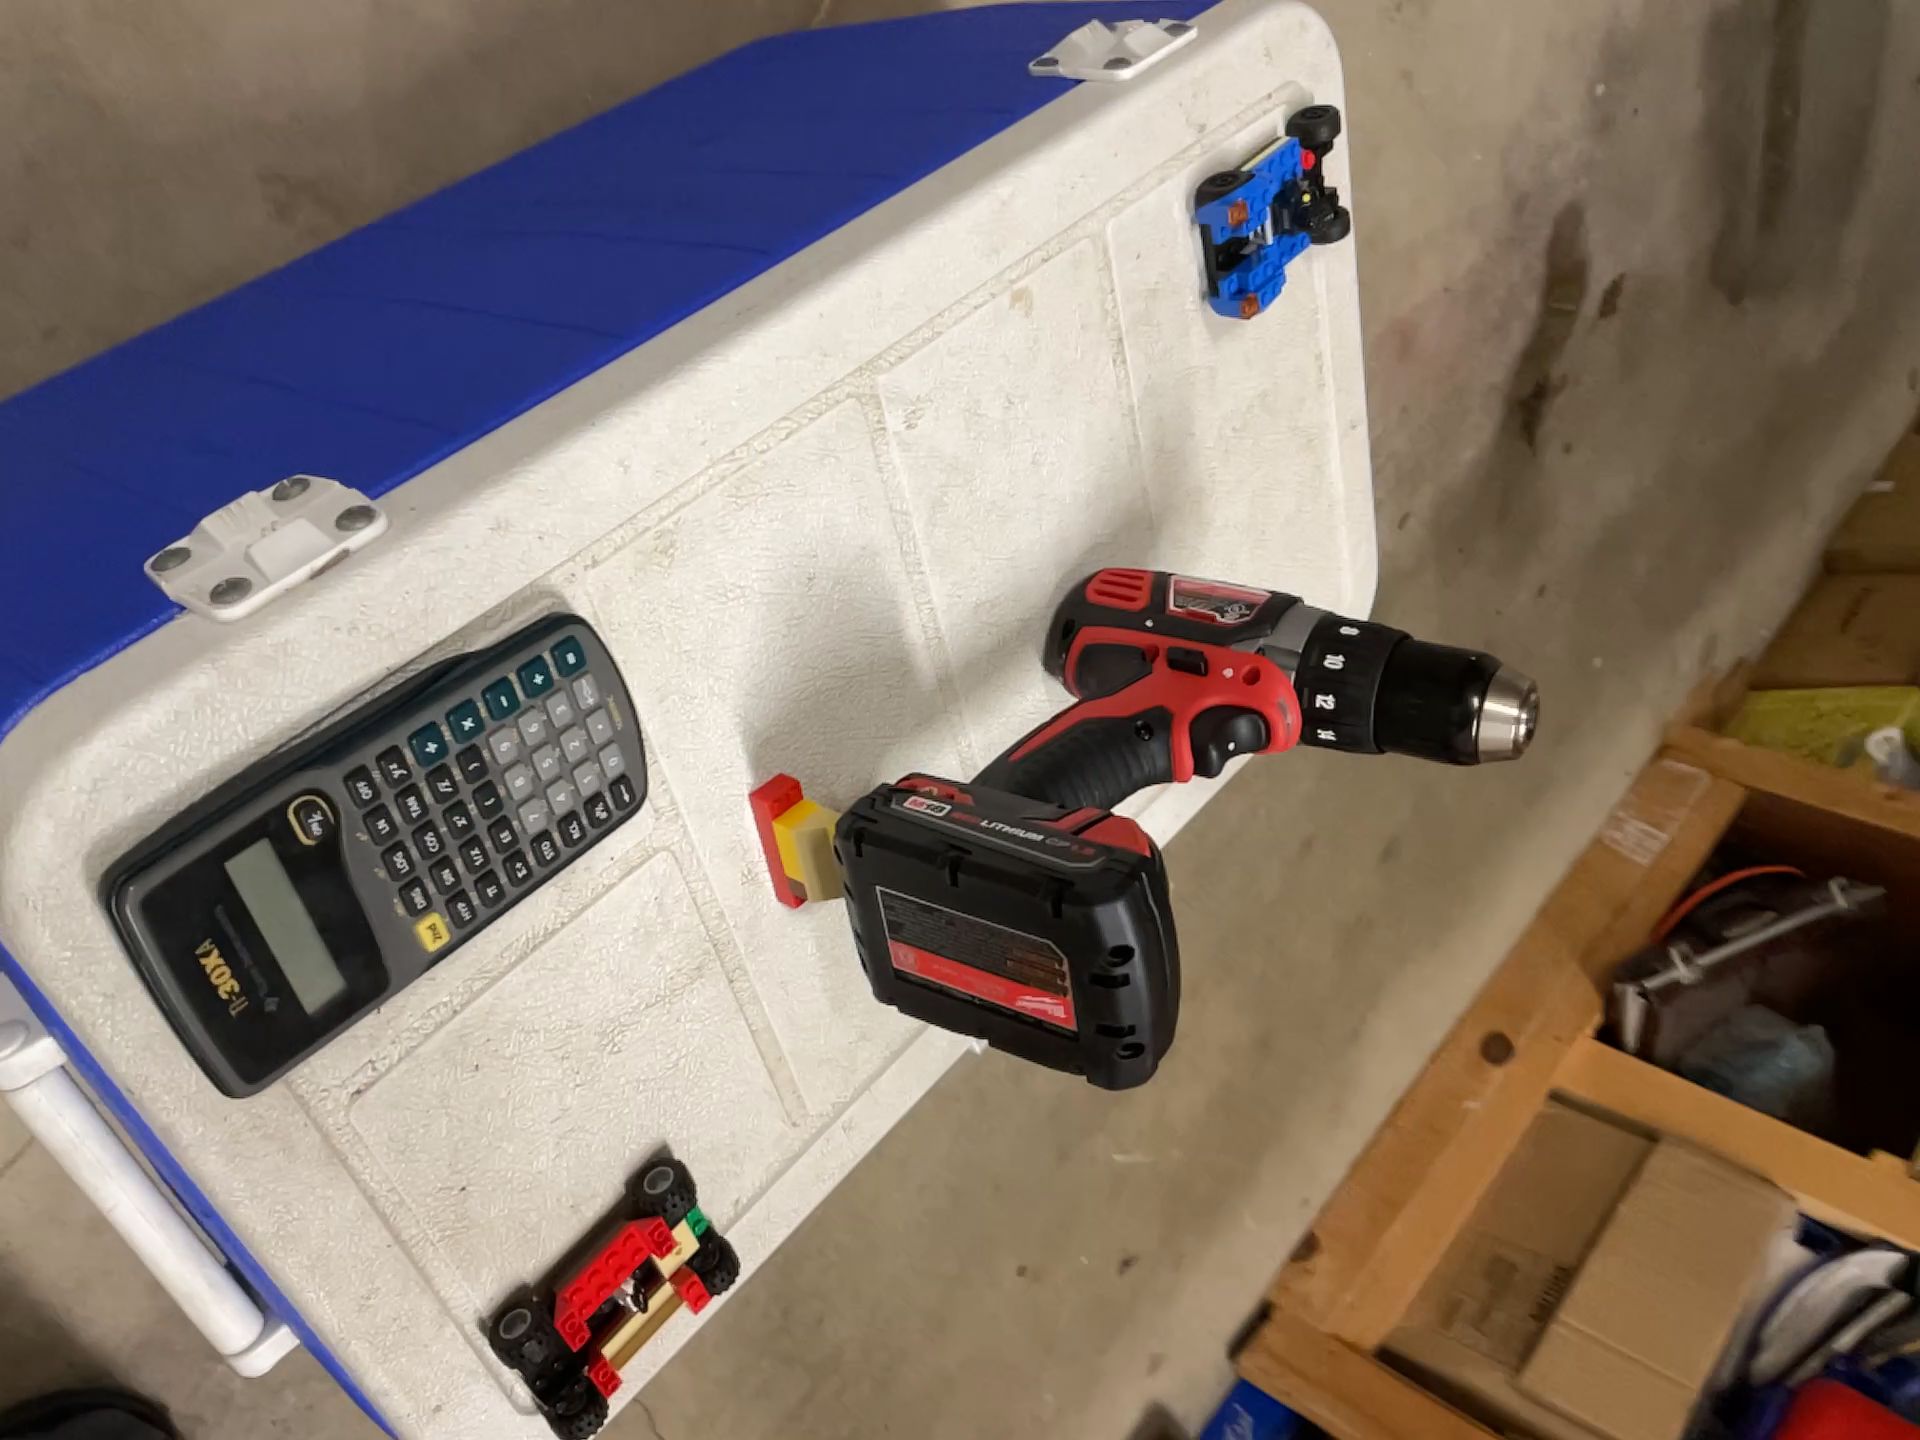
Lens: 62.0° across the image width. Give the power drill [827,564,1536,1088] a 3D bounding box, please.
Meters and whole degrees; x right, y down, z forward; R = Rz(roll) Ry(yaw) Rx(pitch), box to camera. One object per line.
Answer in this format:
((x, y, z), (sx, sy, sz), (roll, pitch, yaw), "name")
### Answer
((0.082, 0.022, 0.568), (0.227, 0.188, 0.080), (-44, 136, -41), "power drill")
